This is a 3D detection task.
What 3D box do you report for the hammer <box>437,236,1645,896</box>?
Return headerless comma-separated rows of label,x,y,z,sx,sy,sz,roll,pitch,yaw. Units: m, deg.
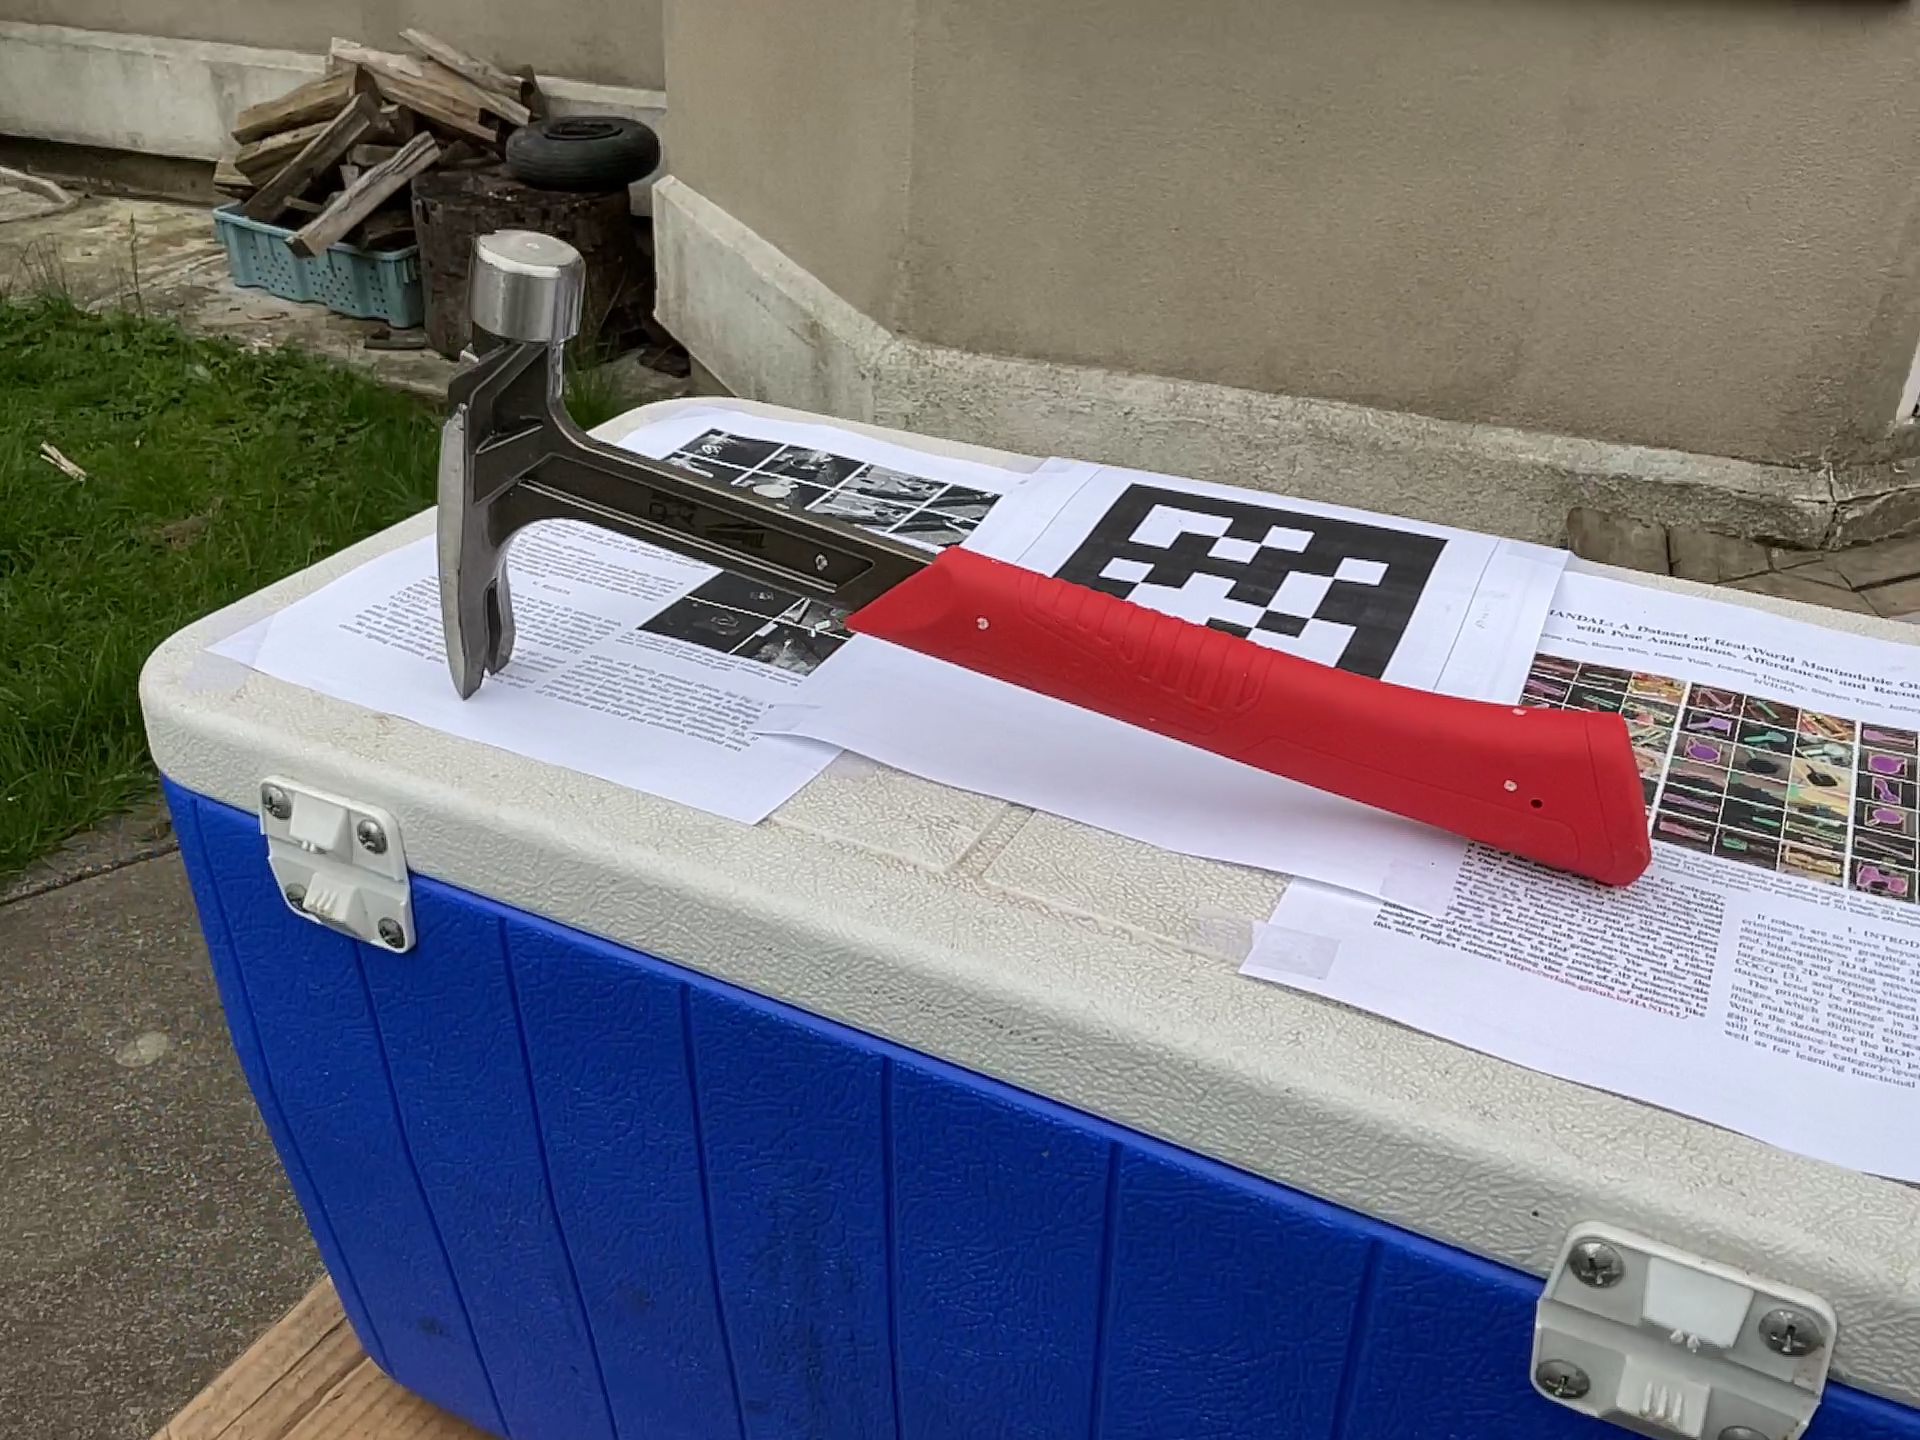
hammer,0.014,-0.018,0.464,0.359,0.149,0.037,19,33,8
